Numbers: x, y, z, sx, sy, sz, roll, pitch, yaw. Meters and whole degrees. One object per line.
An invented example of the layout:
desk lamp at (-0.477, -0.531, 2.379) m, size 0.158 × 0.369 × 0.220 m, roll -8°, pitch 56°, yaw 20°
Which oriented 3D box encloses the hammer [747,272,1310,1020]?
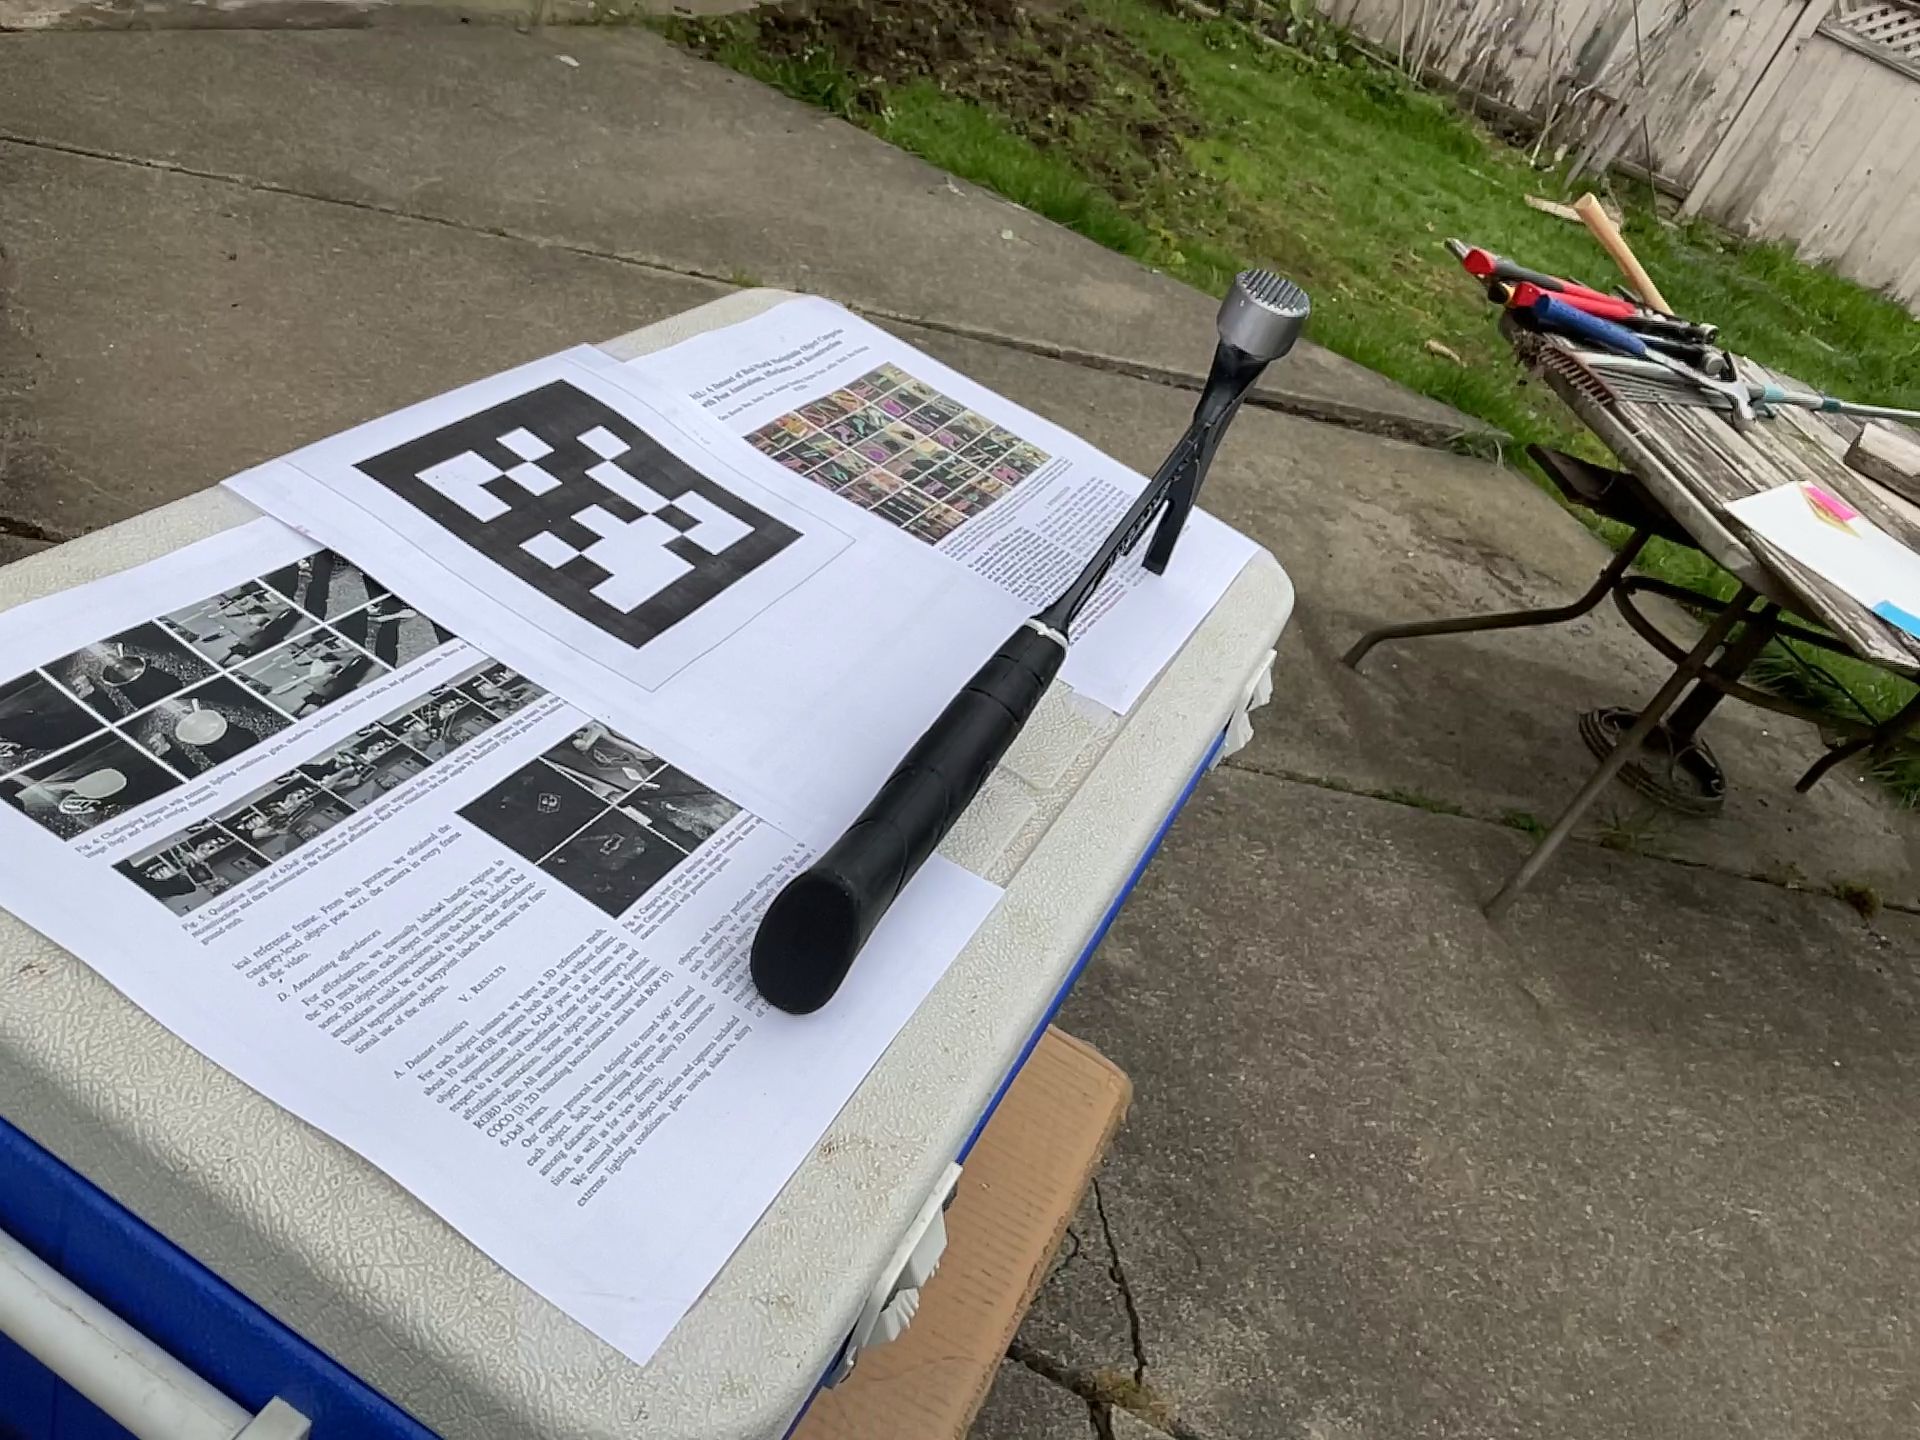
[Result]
hammer at (0.035, -0.035, 0.603) m, size 0.036 × 0.149 × 0.409 m, roll 31°, pitch 43°, yaw 7°
